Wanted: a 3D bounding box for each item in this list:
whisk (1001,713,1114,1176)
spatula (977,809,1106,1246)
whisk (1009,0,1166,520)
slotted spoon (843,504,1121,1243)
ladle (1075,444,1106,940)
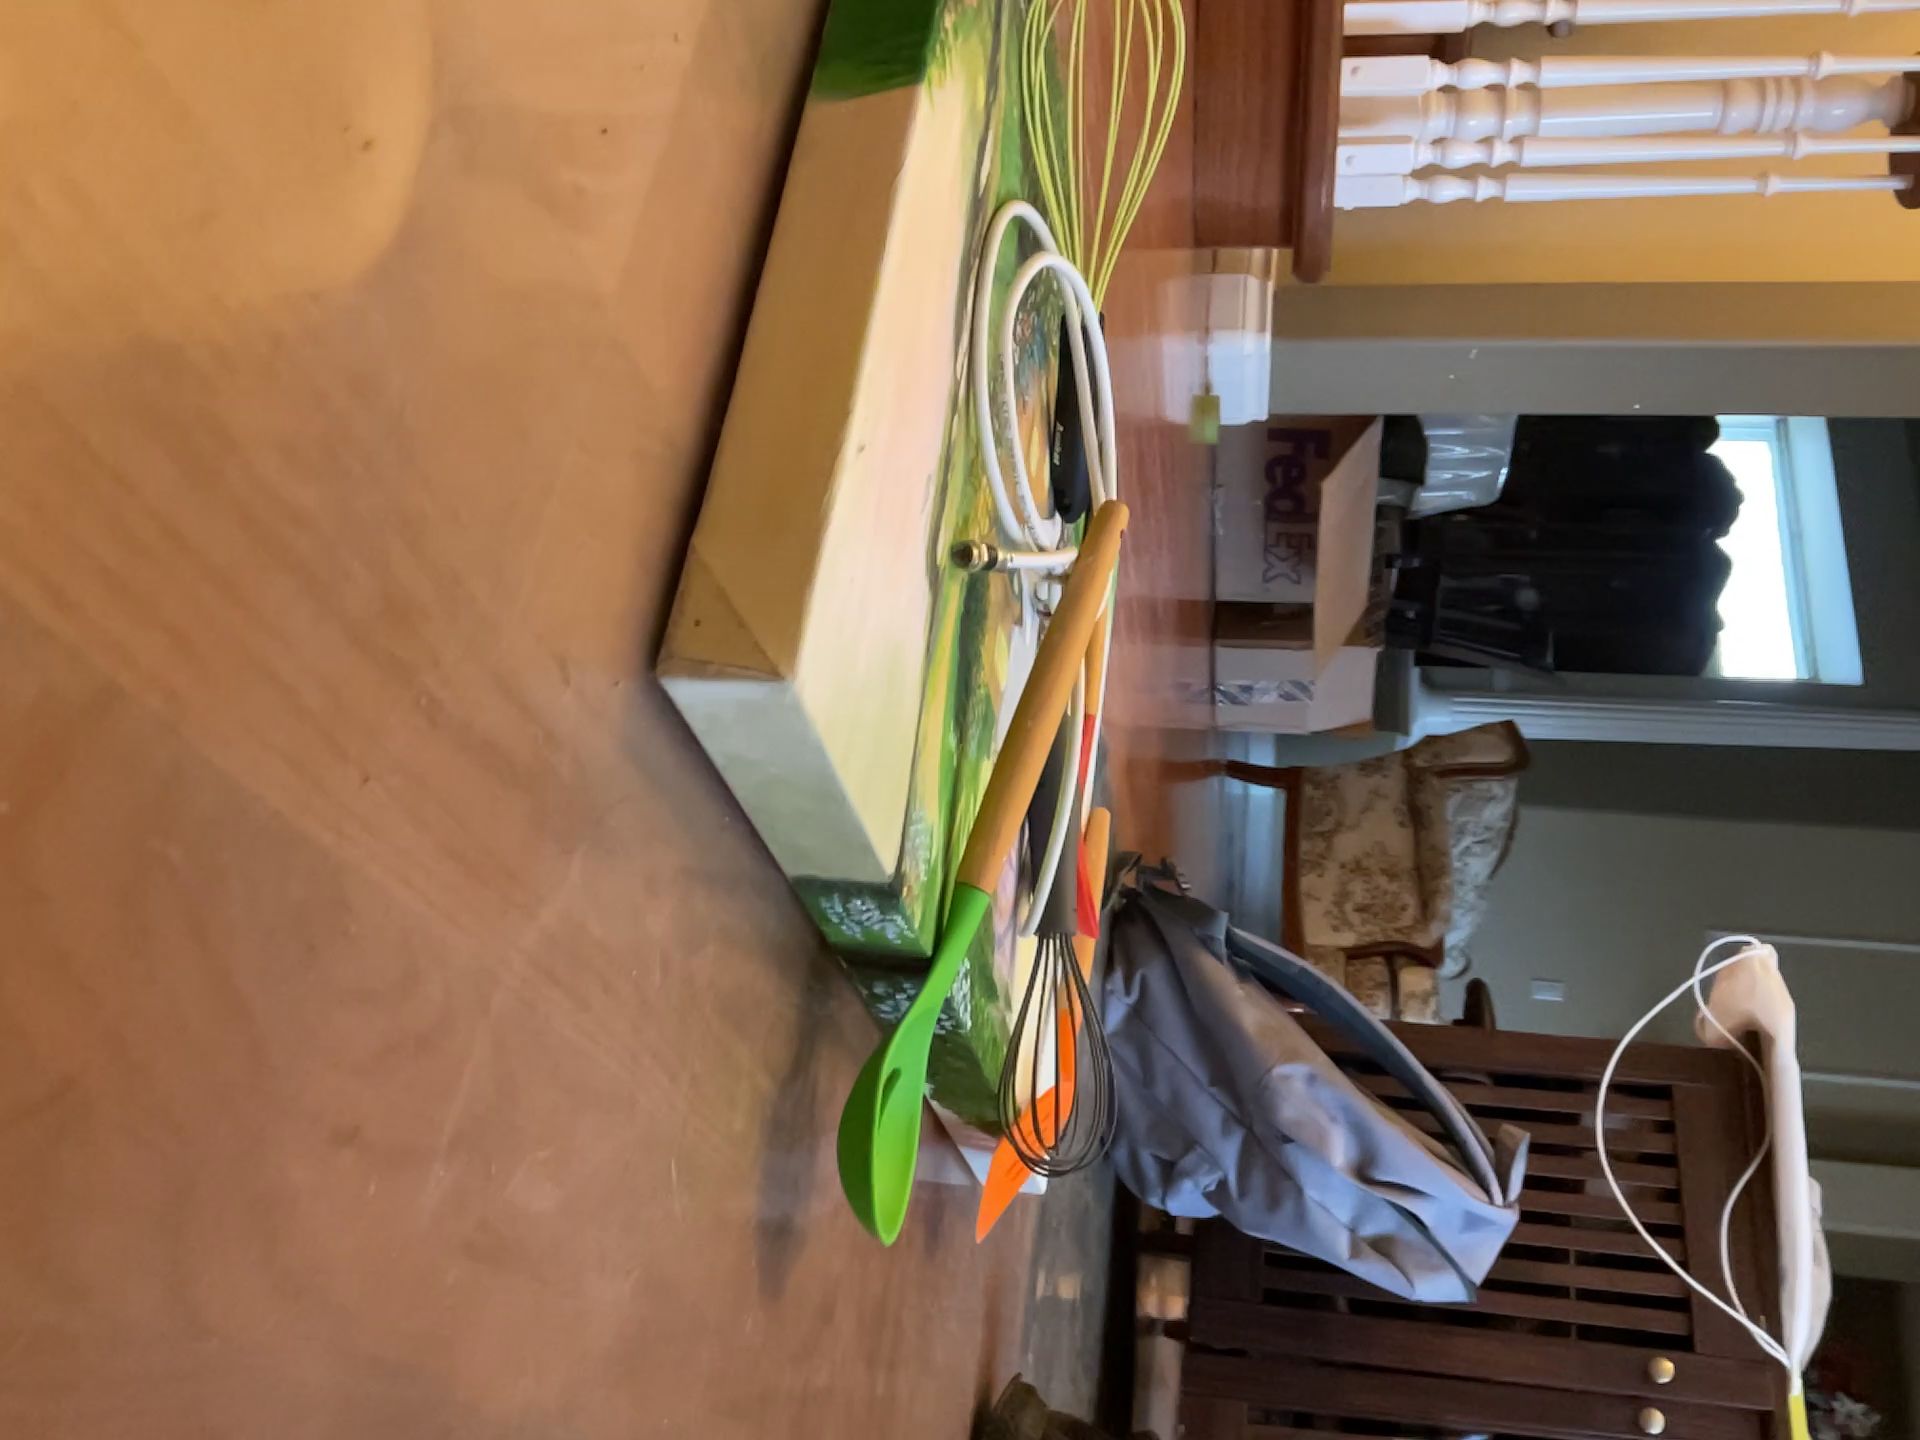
[{"bbox_3d":[0.049,0.106,0.800,0.055,0.055,0.239,90,0,-70],"label":"whisk"},{"bbox_3d":[0.057,0.158,0.937,0.323,0.041,0.081,-75,174,-52],"label":"spatula"},{"bbox_3d":[0.058,-0.222,0.767,0.311,0.067,0.080,89,17,-45],"label":"whisk"},{"bbox_3d":[0.013,0.046,0.630,0.070,0.031,0.314,68,39,-62],"label":"slotted spoon"},{"bbox_3d":[0.077,-0.025,0.952,0.069,0.031,0.316,65,27,-68],"label":"ladle"}]
